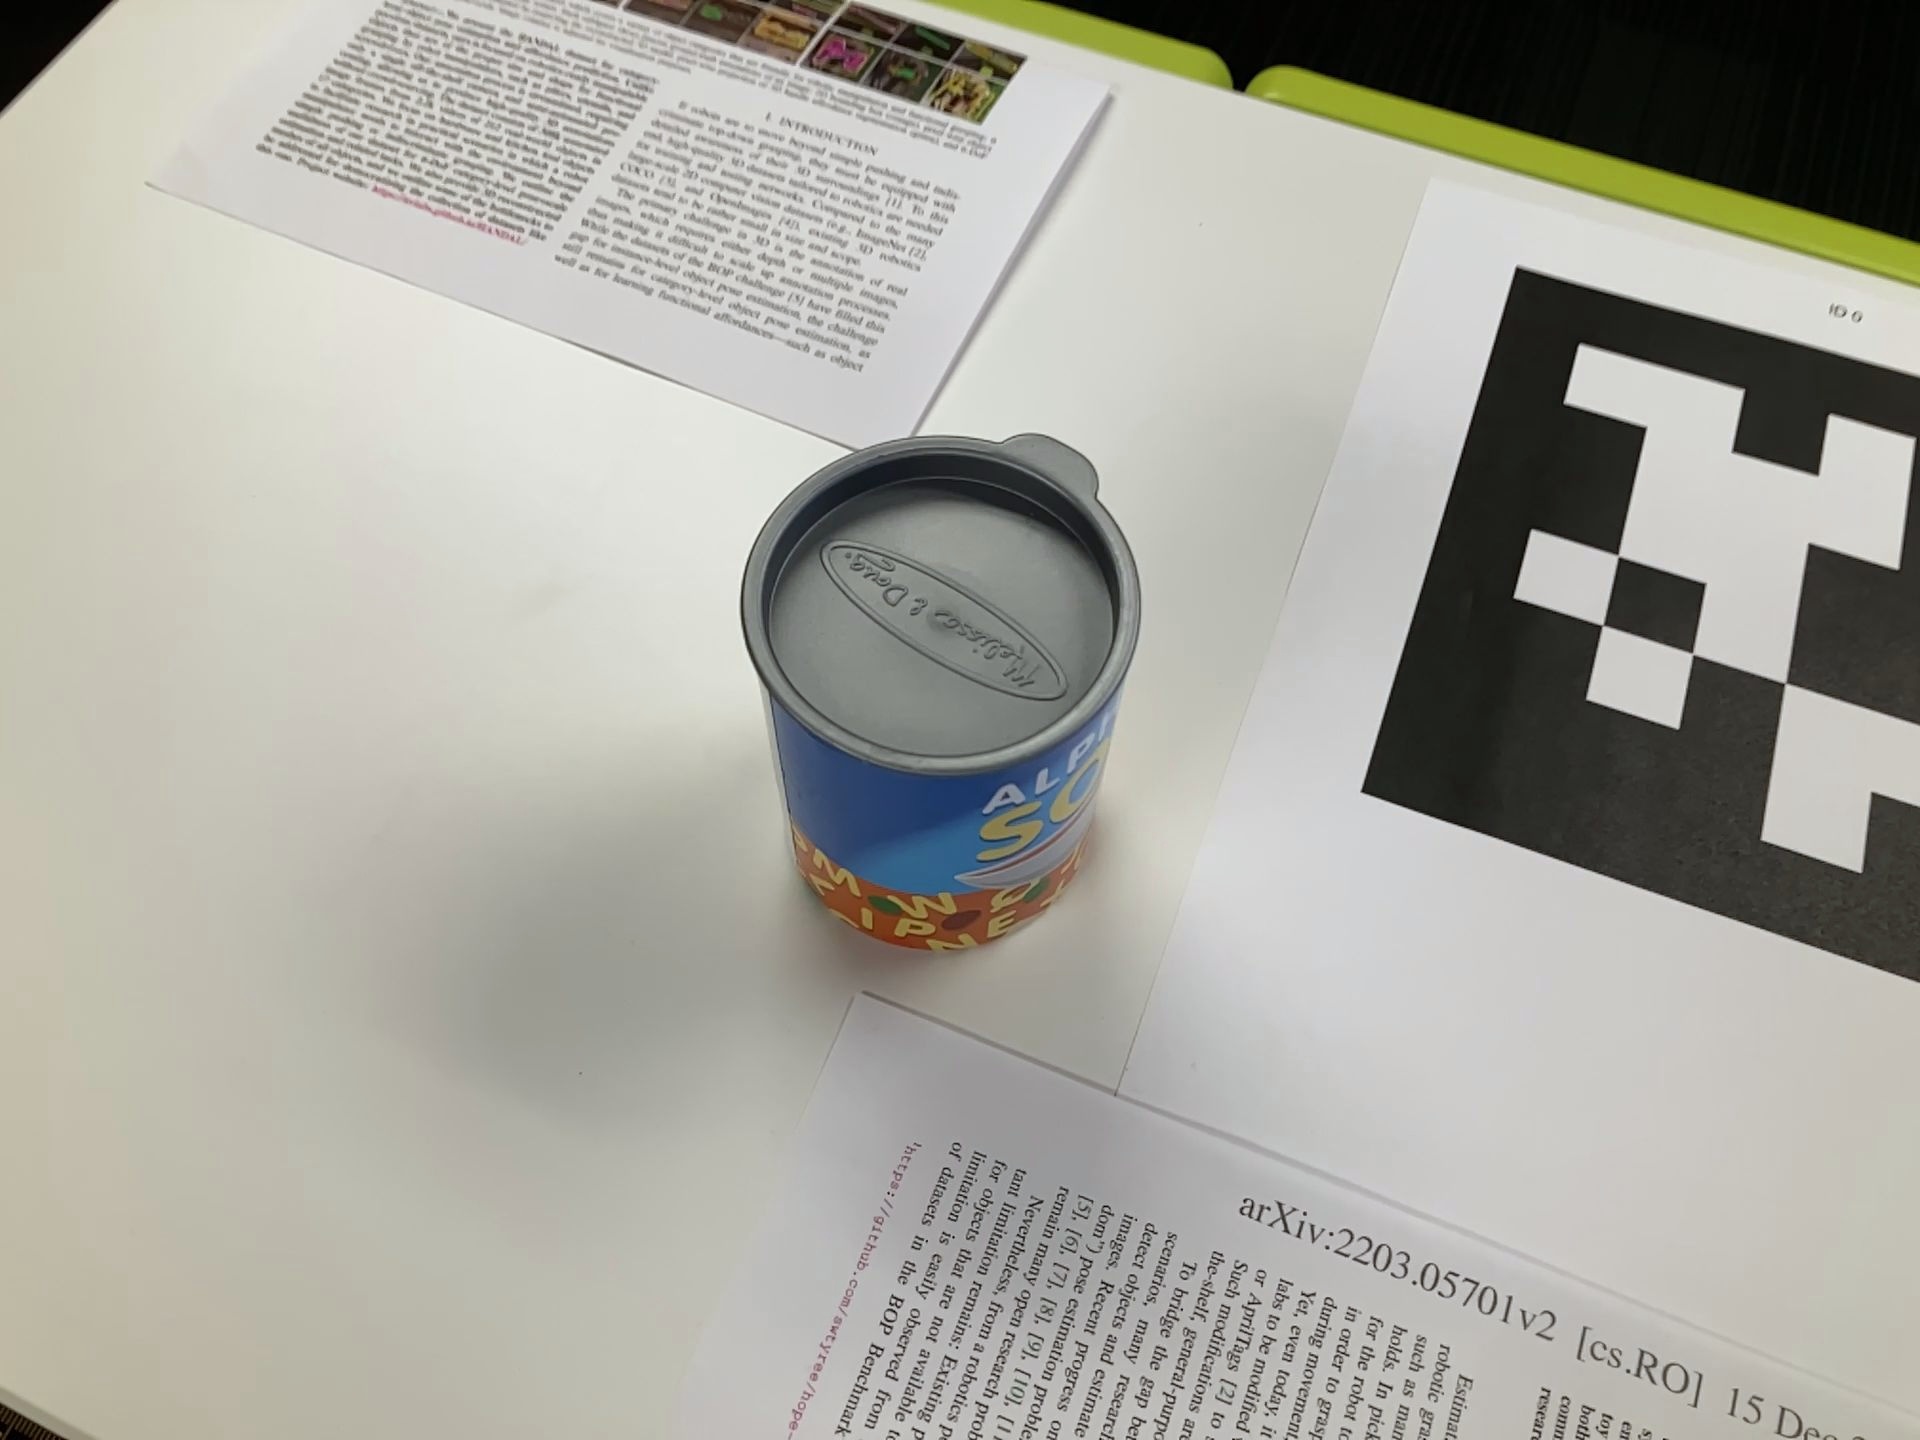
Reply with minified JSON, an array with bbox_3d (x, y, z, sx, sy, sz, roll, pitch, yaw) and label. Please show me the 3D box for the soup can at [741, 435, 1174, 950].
[{"bbox_3d":[-0.001,-0.001,0.298,0.071,0.084,0.071,0,62,0],"label":"soup can"}]
